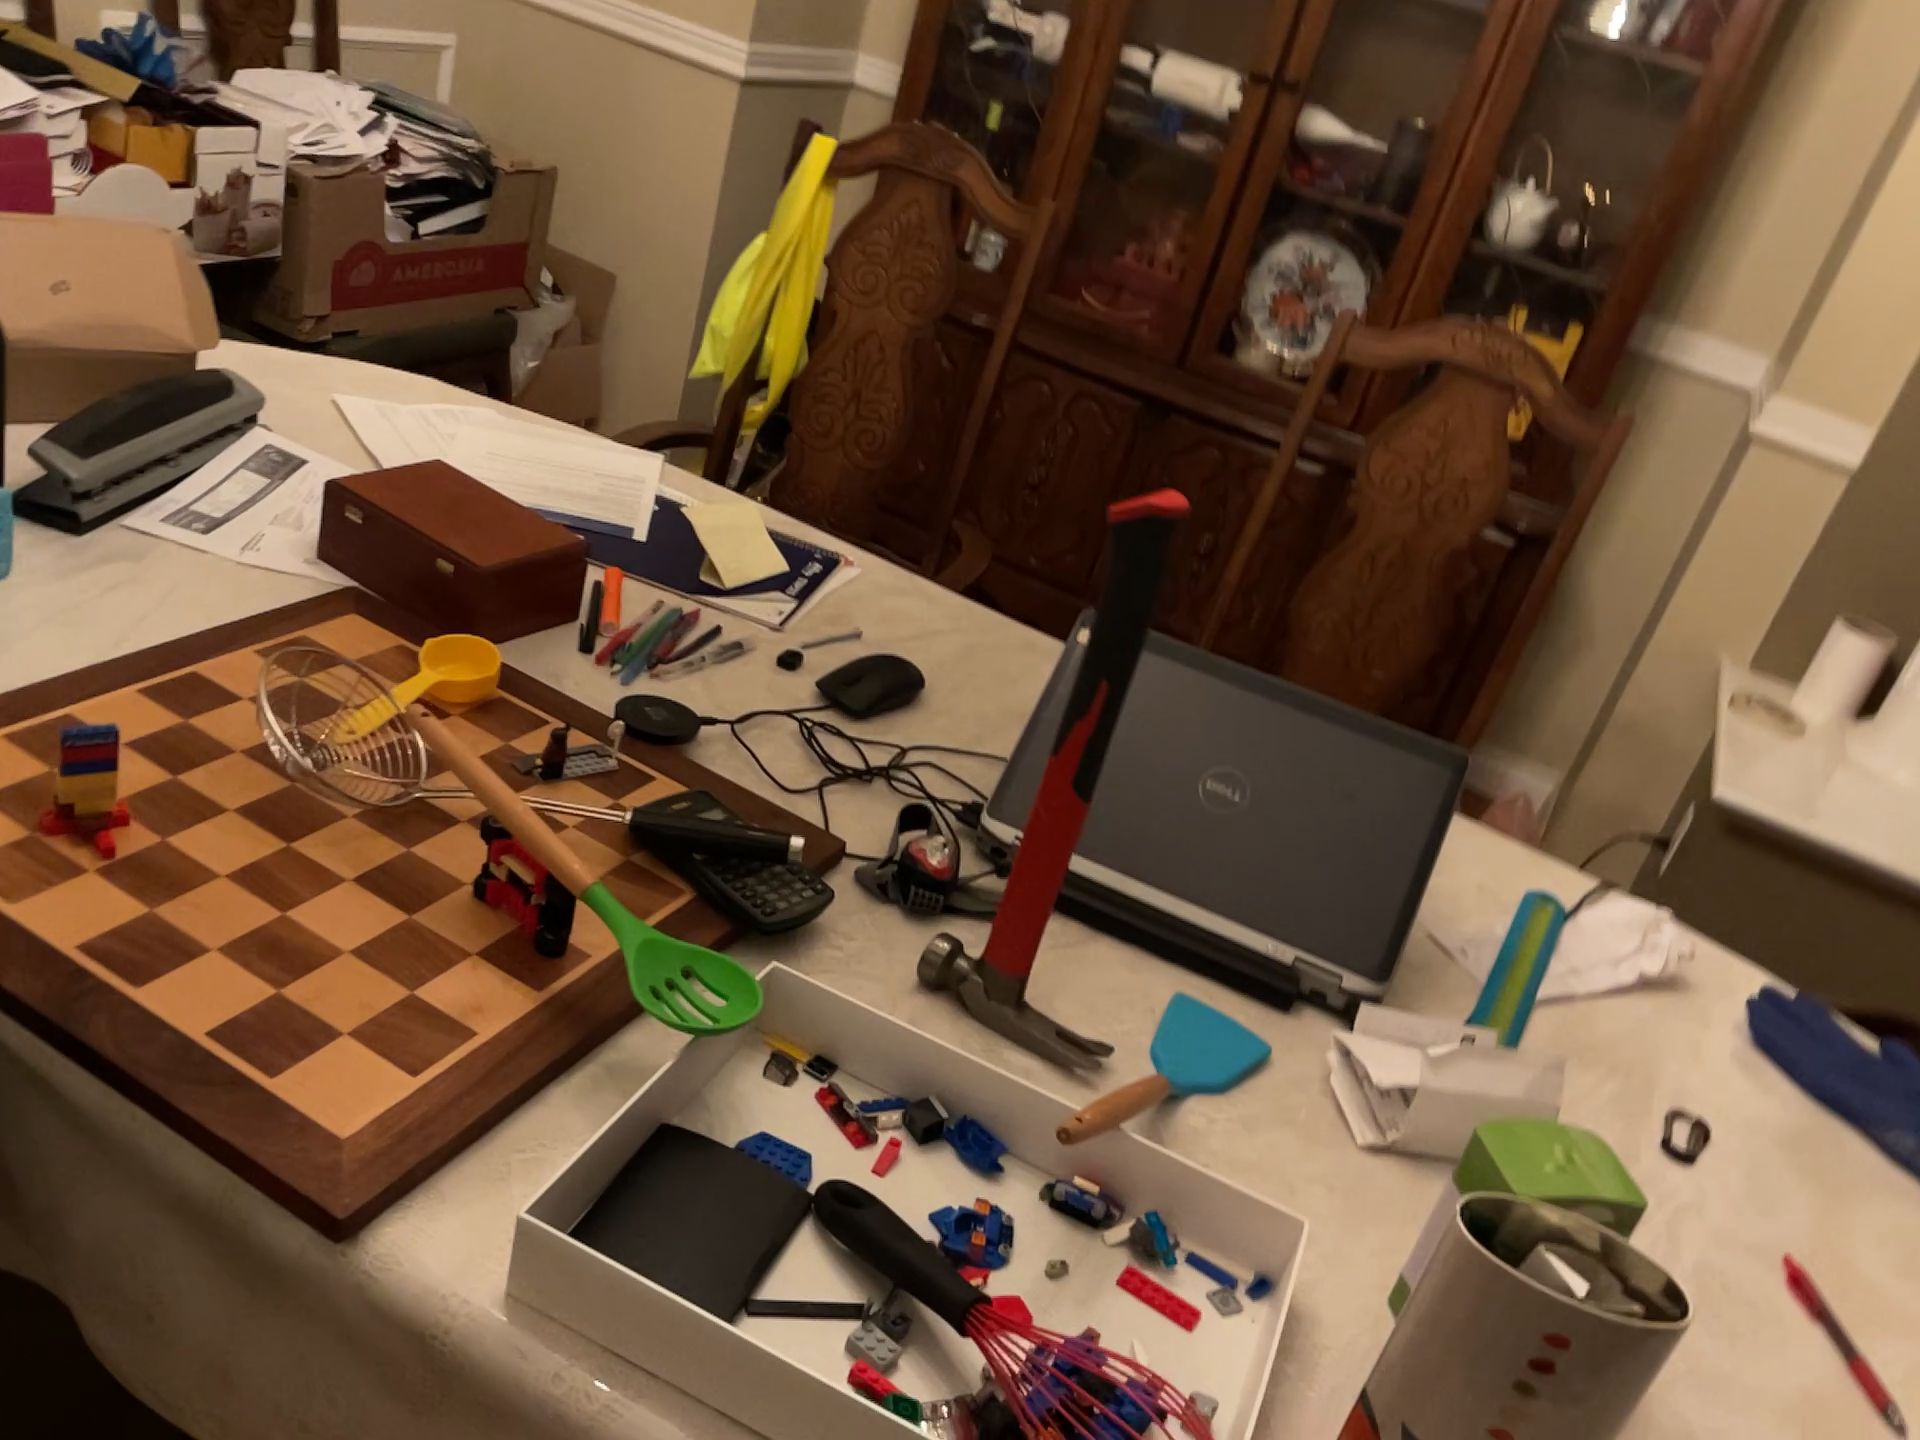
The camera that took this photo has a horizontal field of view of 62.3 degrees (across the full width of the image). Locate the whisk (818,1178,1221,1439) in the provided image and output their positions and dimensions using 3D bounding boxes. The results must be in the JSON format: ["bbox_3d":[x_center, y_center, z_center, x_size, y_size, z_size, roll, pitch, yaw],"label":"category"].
[{"bbox_3d":[0.020,0.304,0.782,0.073,0.073,0.296,17,5,-44],"label":"whisk"}]

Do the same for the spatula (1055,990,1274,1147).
[{"bbox_3d":[0.120,0.221,0.990,0.082,0.044,0.317,29,8,21],"label":"spatula"}]

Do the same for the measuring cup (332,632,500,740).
[{"bbox_3d":[-0.408,-0.017,1.189,0.062,0.029,0.156,28,41,15],"label":"measuring cup"}]

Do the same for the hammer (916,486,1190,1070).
[{"bbox_3d":[0.083,0.041,0.995,0.143,0.386,0.038,27,28,20],"label":"hammer"}]

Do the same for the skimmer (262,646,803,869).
[{"bbox_3d":[-0.282,0.031,1.071,0.363,0.090,0.127,11,25,-2],"label":"skimmer"}]

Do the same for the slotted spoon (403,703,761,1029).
[{"bbox_3d":[-0.239,0.085,0.962,0.314,0.031,0.070,39,35,22],"label":"slotted spoon"}]
